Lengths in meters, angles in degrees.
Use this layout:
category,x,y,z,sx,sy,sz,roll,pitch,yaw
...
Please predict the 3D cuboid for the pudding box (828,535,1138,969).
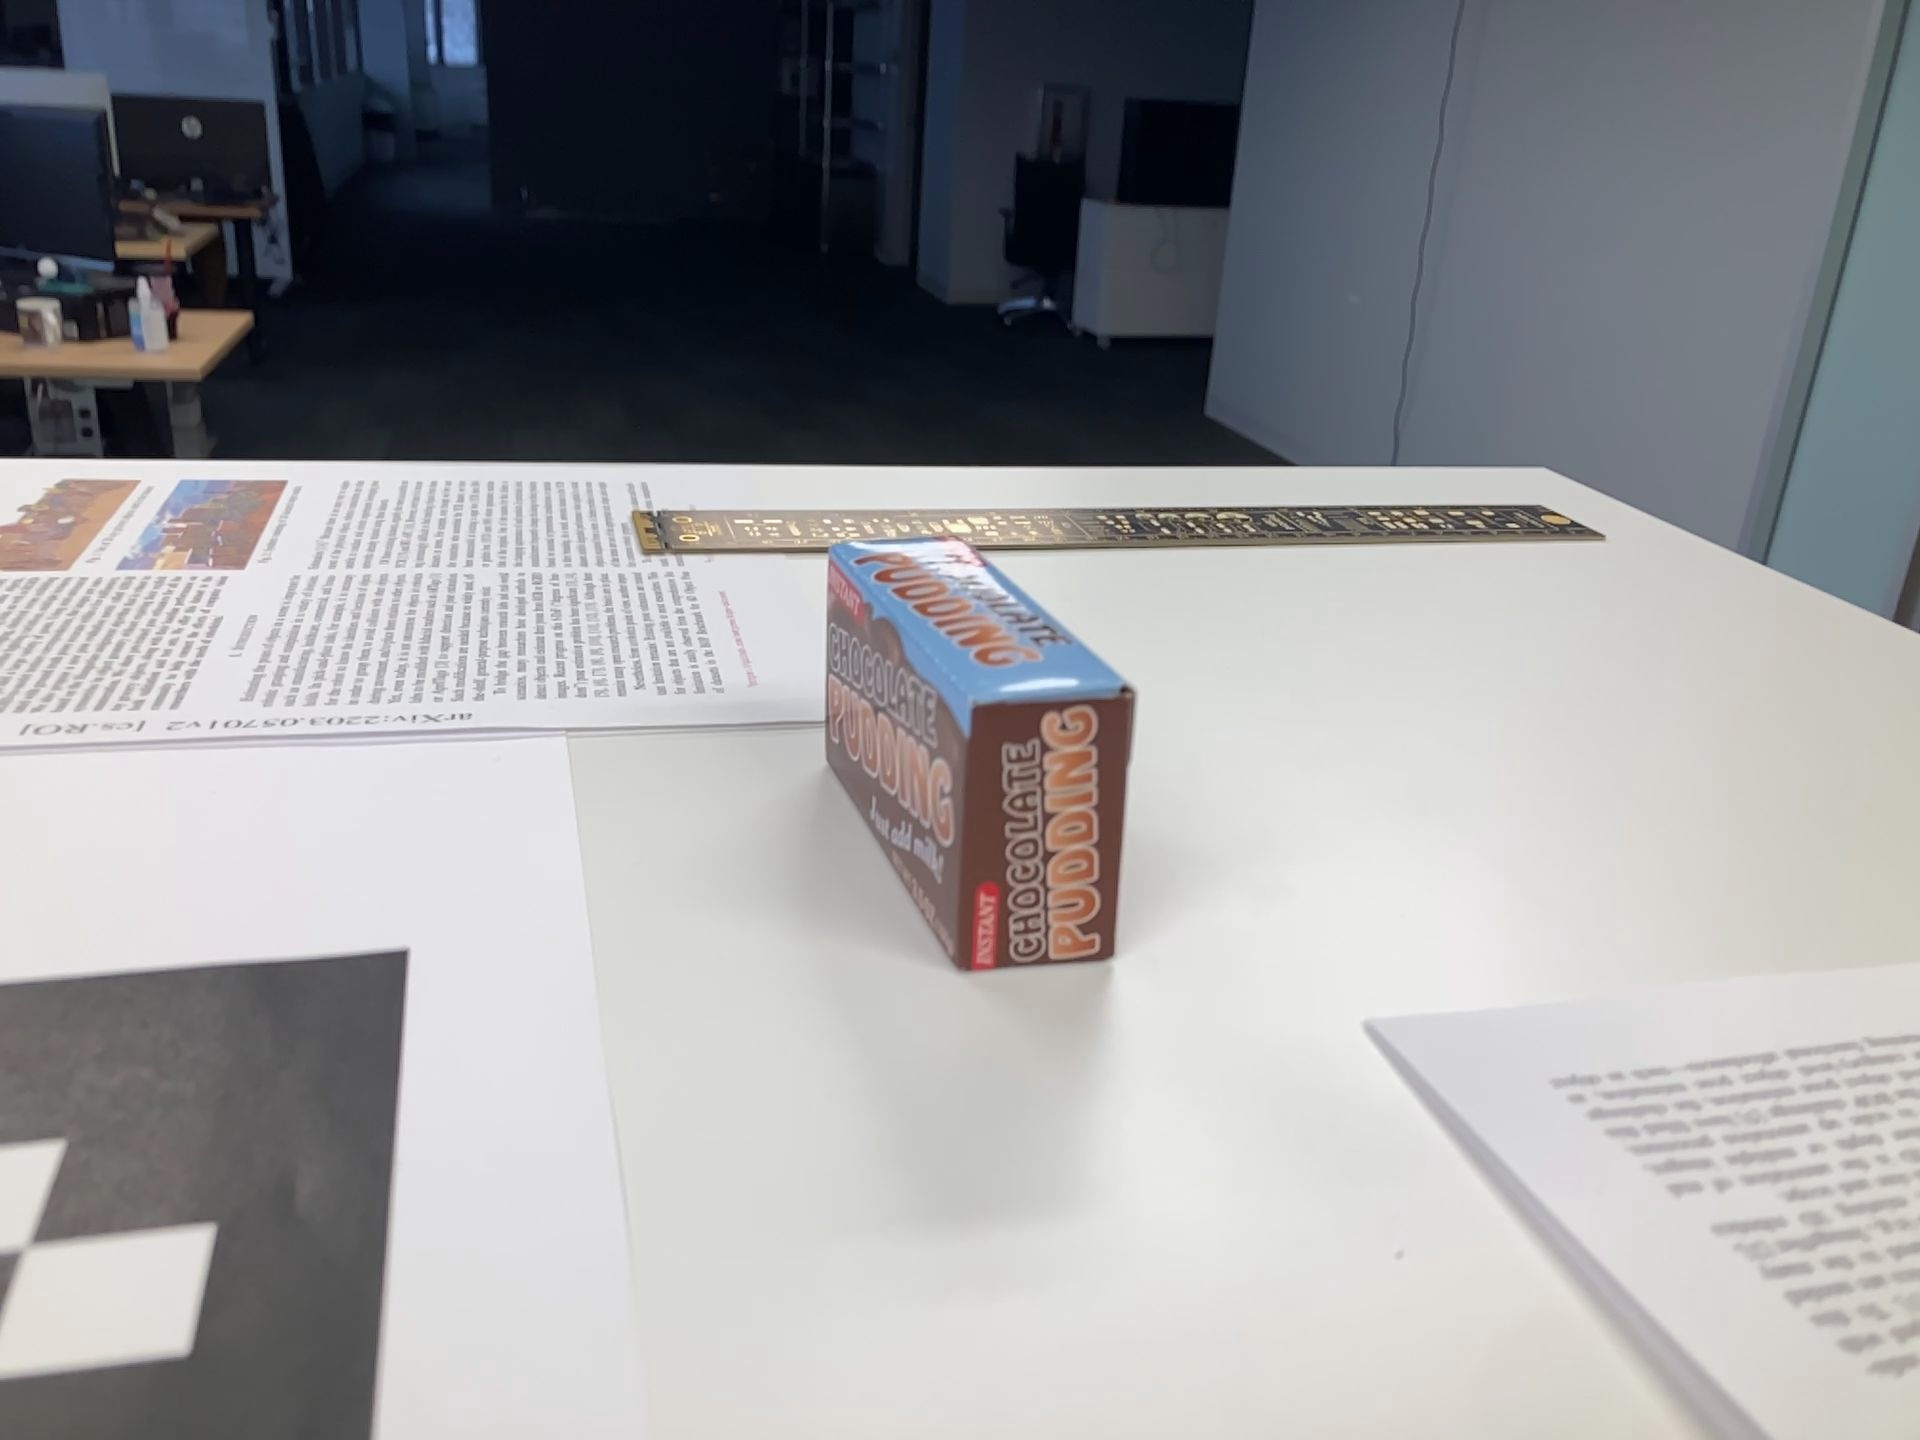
category,x,y,z,sx,sy,sz,roll,pitch,yaw
pudding box,0.000,0.002,0.284,0.030,0.049,0.083,-6,25,-19
